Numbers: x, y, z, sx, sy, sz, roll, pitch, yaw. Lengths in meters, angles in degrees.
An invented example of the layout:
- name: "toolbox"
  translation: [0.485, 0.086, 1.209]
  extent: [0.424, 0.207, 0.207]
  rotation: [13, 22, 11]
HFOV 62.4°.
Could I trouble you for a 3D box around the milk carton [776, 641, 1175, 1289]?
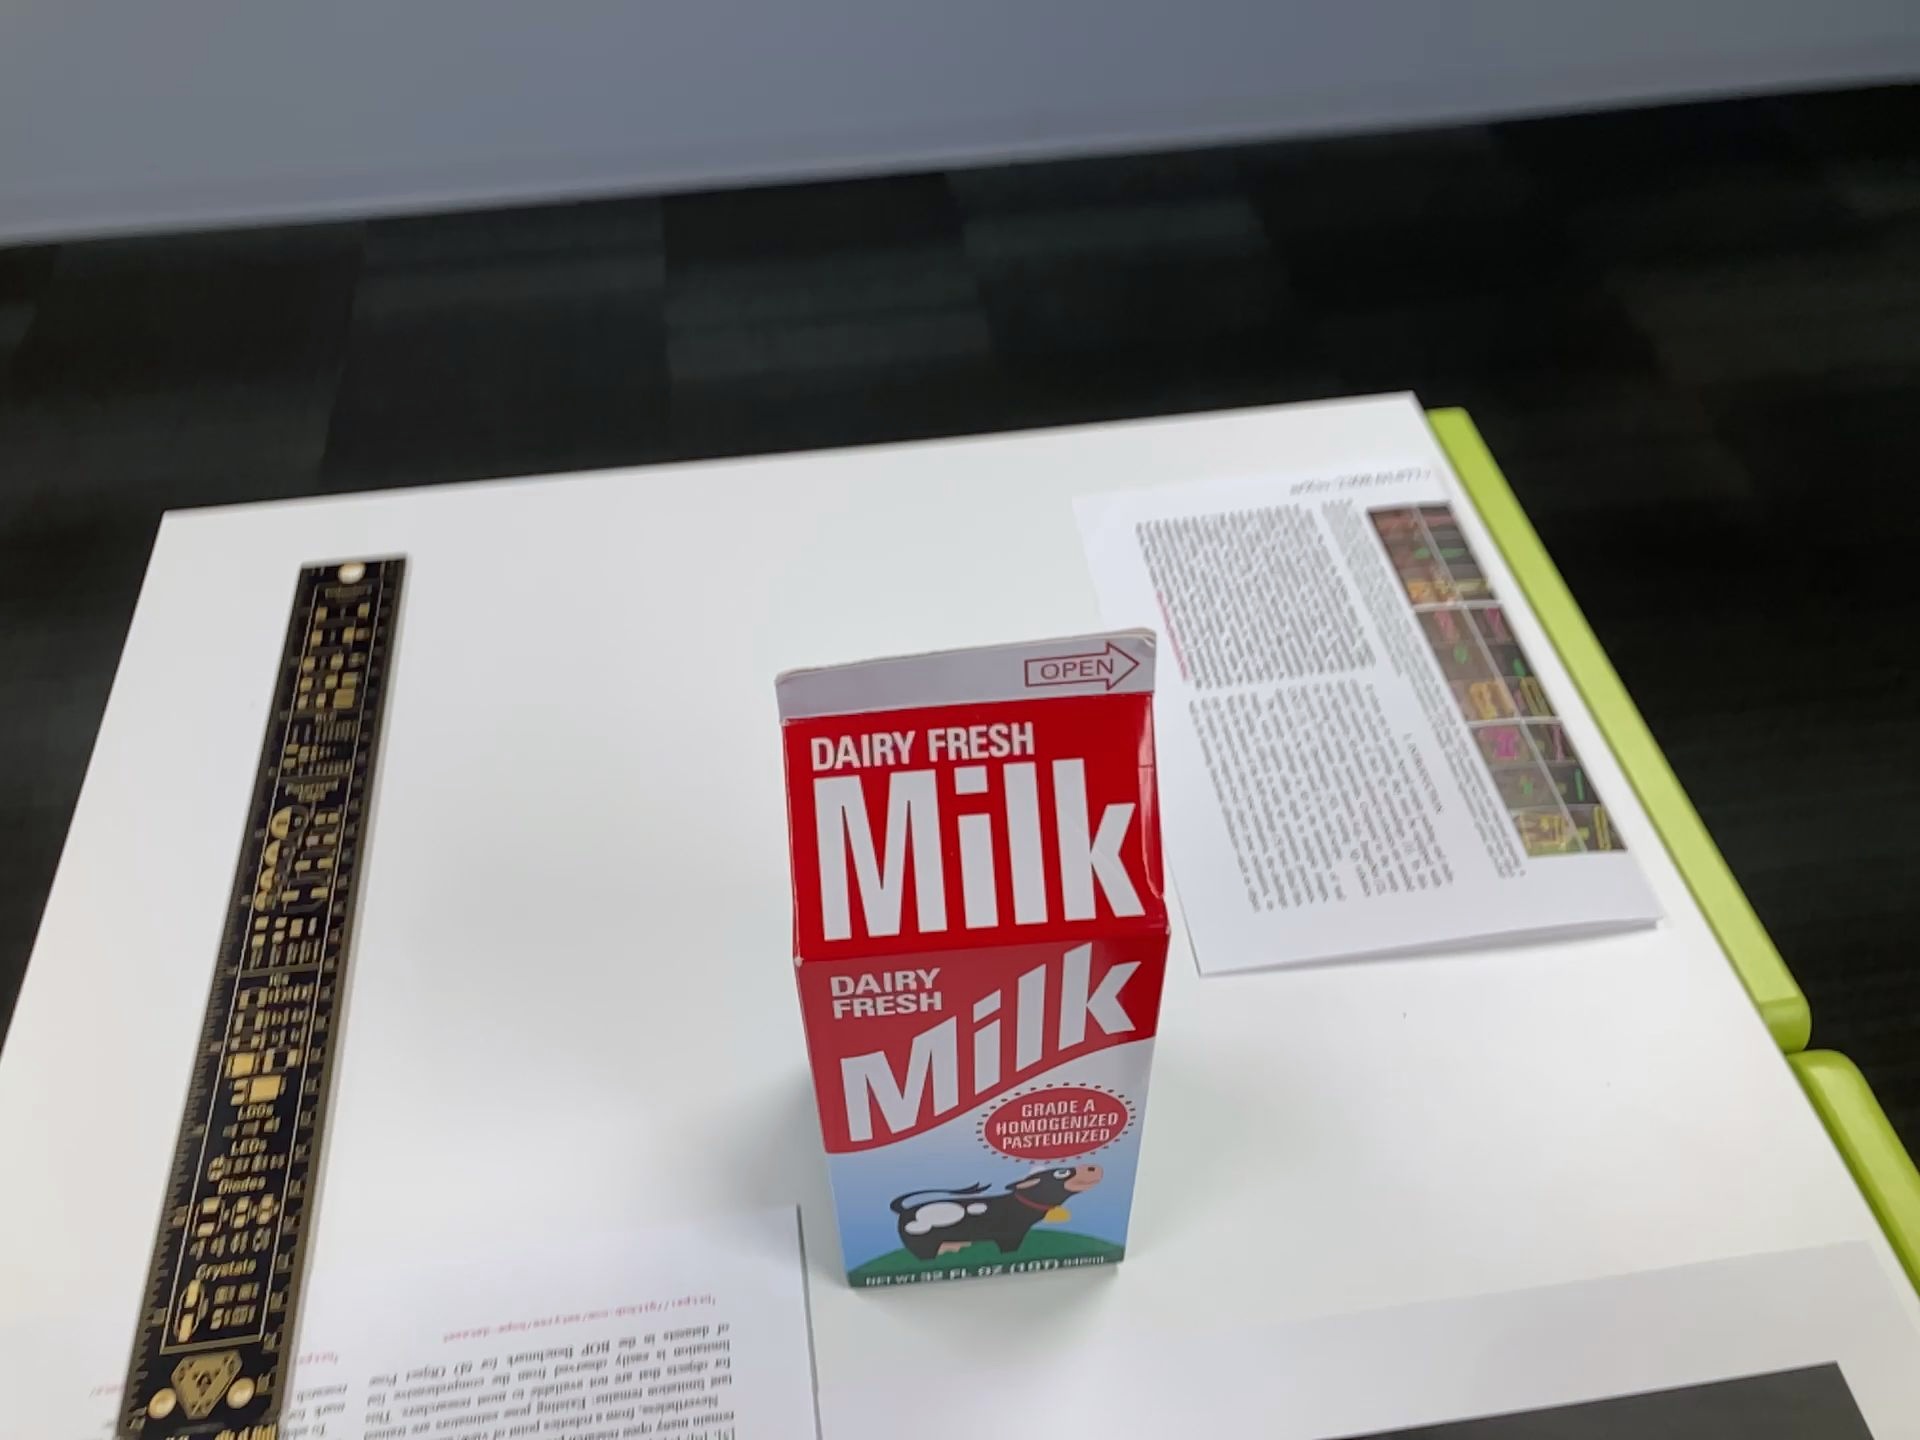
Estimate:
- name: "milk carton"
  translation: [0.003, 0.051, 0.352]
  extent: [0.072, 0.190, 0.073]
  rotation: [-4, 48, -2]
